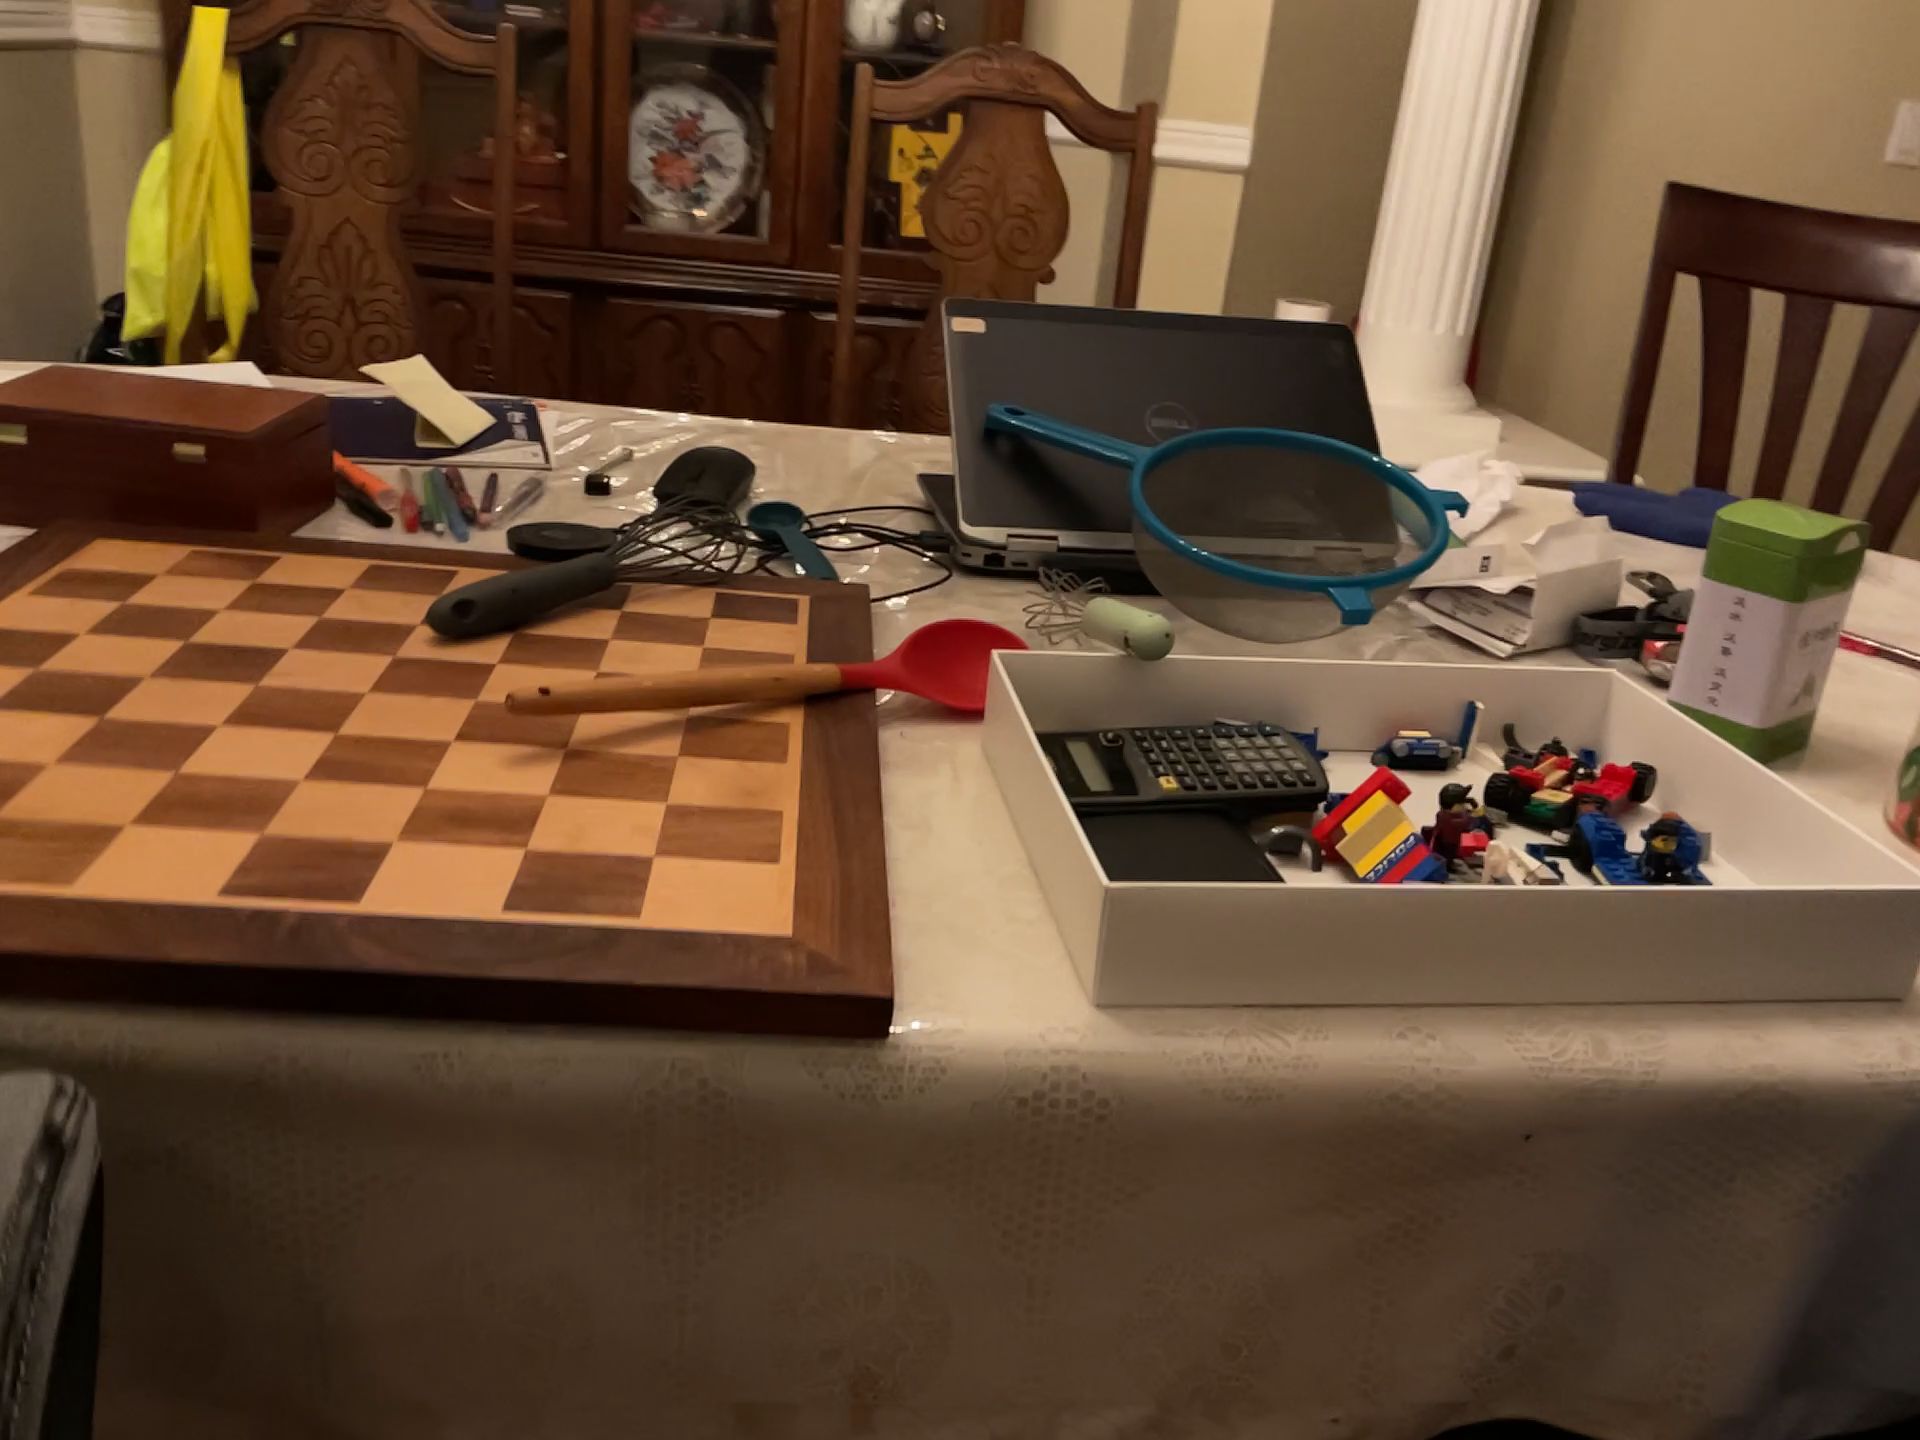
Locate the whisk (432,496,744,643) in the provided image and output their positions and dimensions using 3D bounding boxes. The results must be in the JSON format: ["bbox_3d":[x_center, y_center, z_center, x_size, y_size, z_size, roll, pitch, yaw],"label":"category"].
[{"bbox_3d":[-0.210,-0.085,0.929,0.055,0.055,0.238,5,22,36],"label":"whisk"}]

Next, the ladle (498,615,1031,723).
[{"bbox_3d":[-0.087,-0.020,0.812,0.315,0.031,0.069,-8,47,-41],"label":"ladle"}]

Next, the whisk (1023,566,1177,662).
[{"bbox_3d":[0.081,-0.059,0.917,0.059,0.057,0.246,-28,12,-4],"label":"whisk"}]

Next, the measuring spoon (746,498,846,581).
[{"bbox_3d":[-0.111,-0.117,1.108,0.042,0.021,0.129,-14,41,-26],"label":"measuring spoon"}]

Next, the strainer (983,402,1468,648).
[{"bbox_3d":[0.158,-0.133,1.097,0.341,0.095,0.211,23,40,25],"label":"strainer"}]
